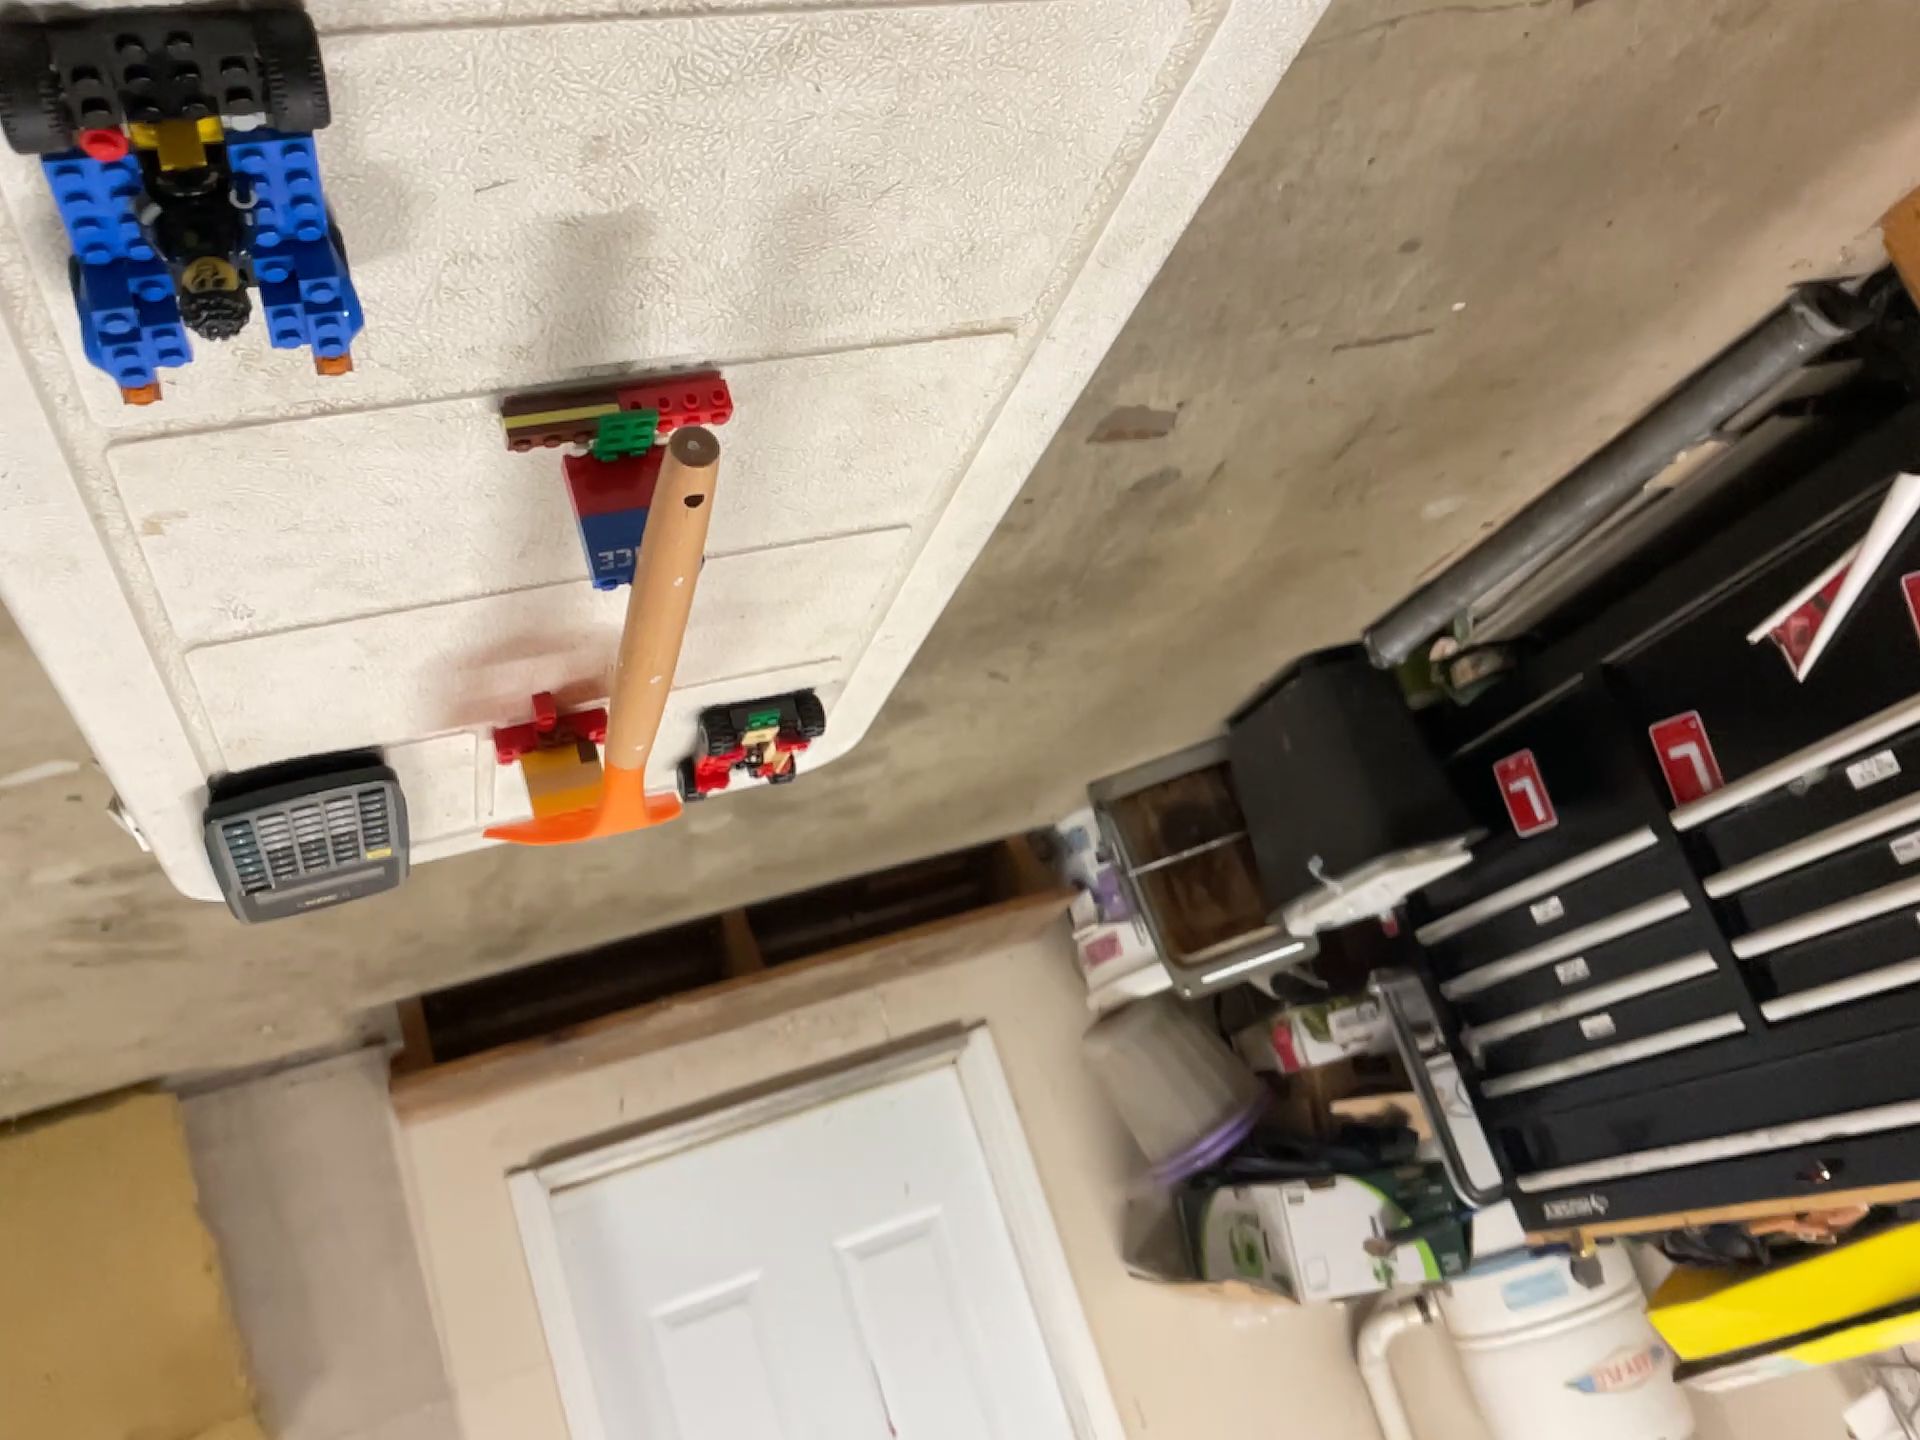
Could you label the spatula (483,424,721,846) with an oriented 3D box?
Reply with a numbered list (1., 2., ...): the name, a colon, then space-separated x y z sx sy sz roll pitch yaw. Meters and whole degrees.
1. spatula: -0.111 -0.008 0.528 0.081 0.041 0.322 -11 160 -22
